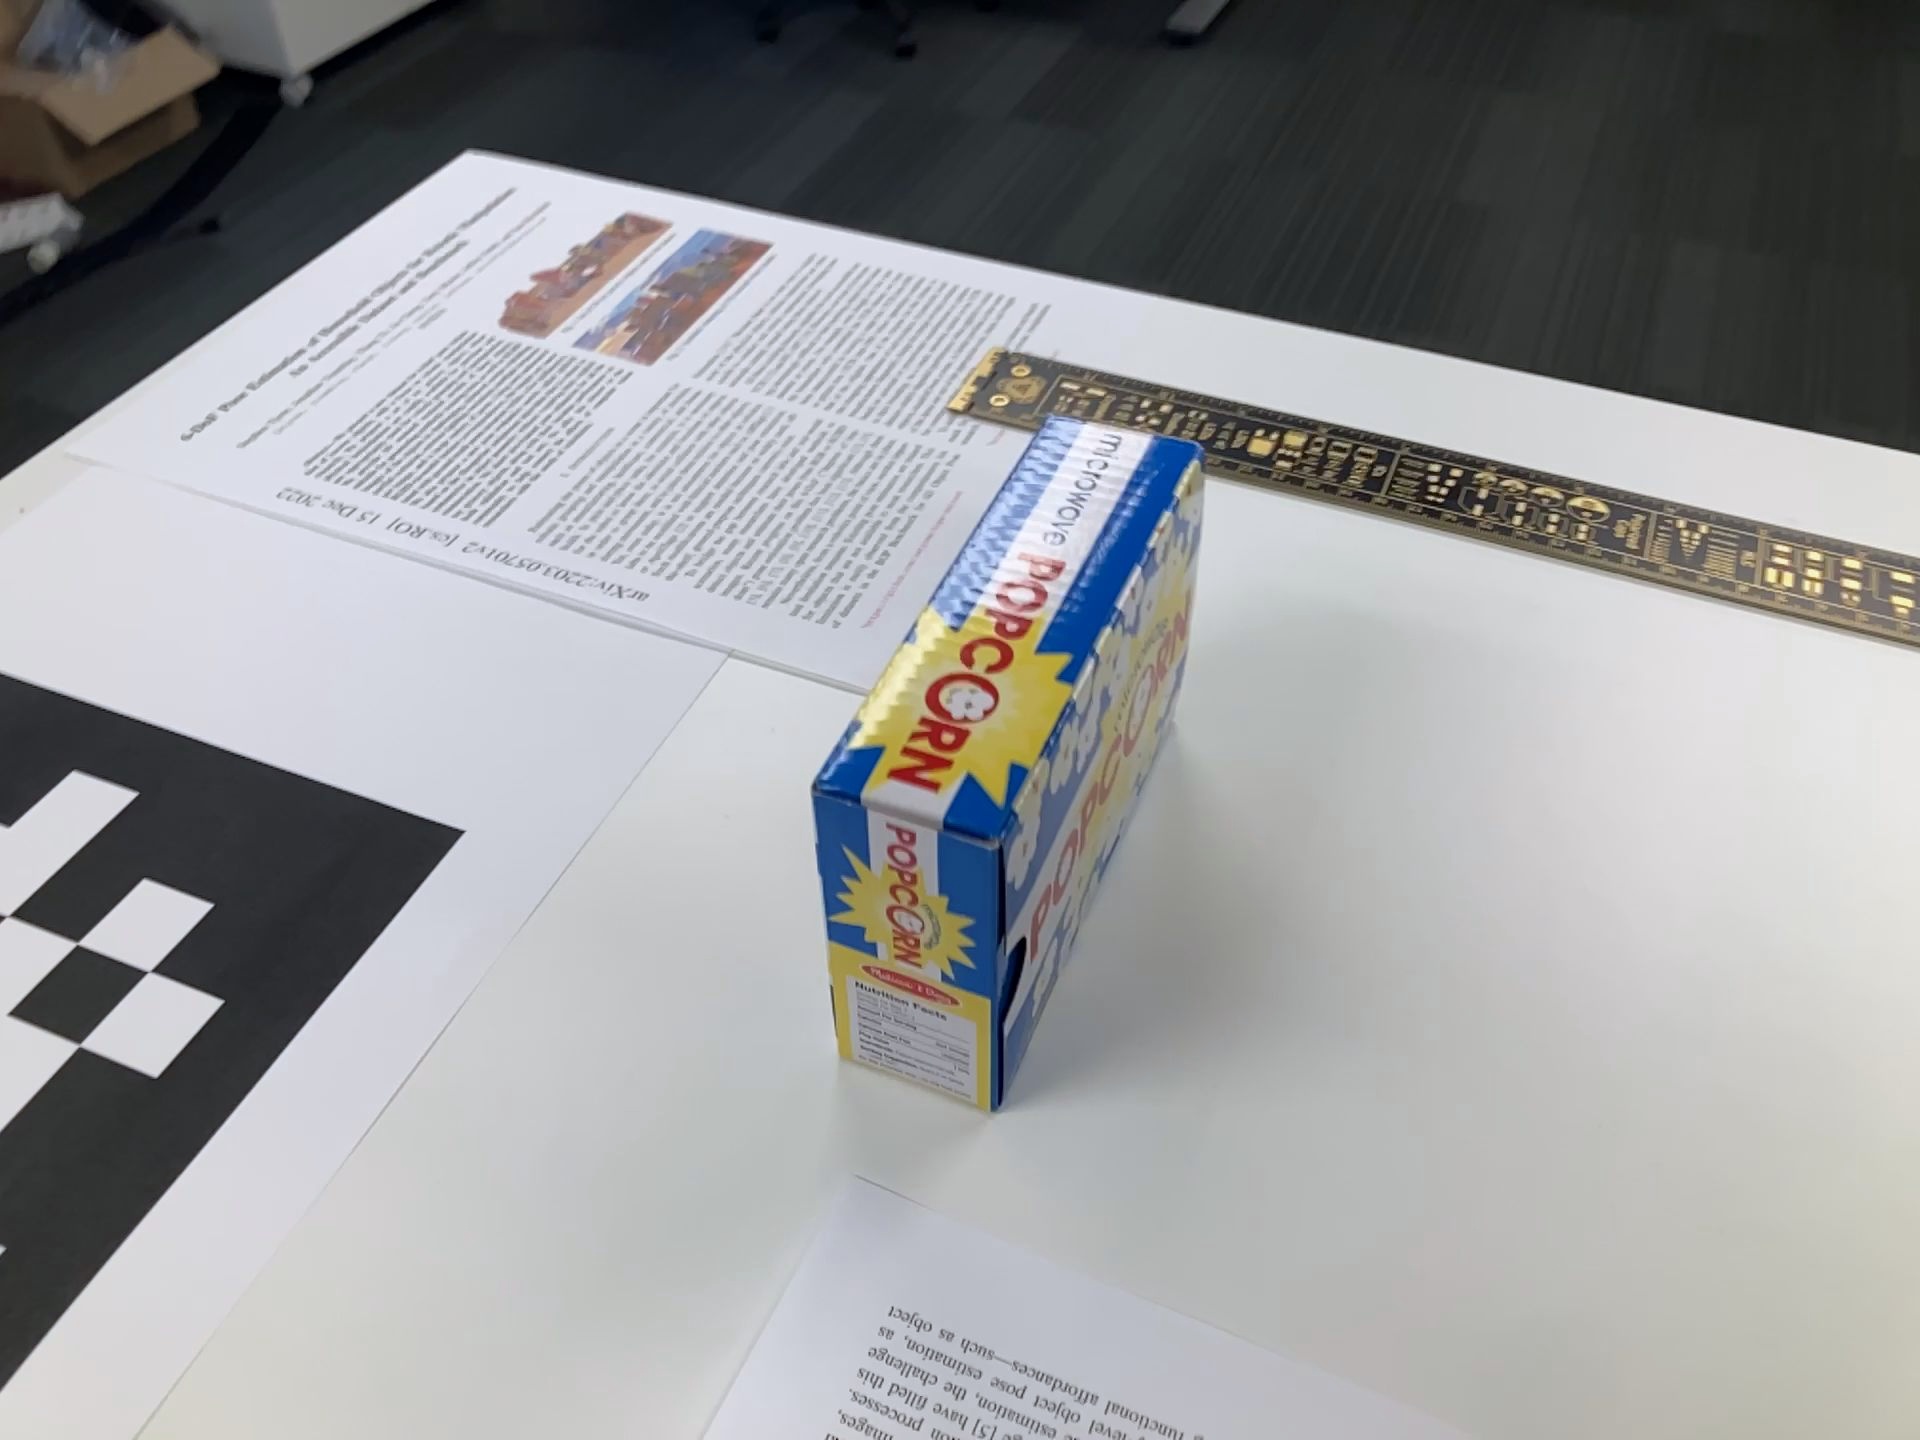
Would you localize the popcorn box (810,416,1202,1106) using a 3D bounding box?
[{"bbox_3d":[0.014,0.005,0.343,0.038,0.085,0.126,17,47,16],"label":"popcorn box"}]
